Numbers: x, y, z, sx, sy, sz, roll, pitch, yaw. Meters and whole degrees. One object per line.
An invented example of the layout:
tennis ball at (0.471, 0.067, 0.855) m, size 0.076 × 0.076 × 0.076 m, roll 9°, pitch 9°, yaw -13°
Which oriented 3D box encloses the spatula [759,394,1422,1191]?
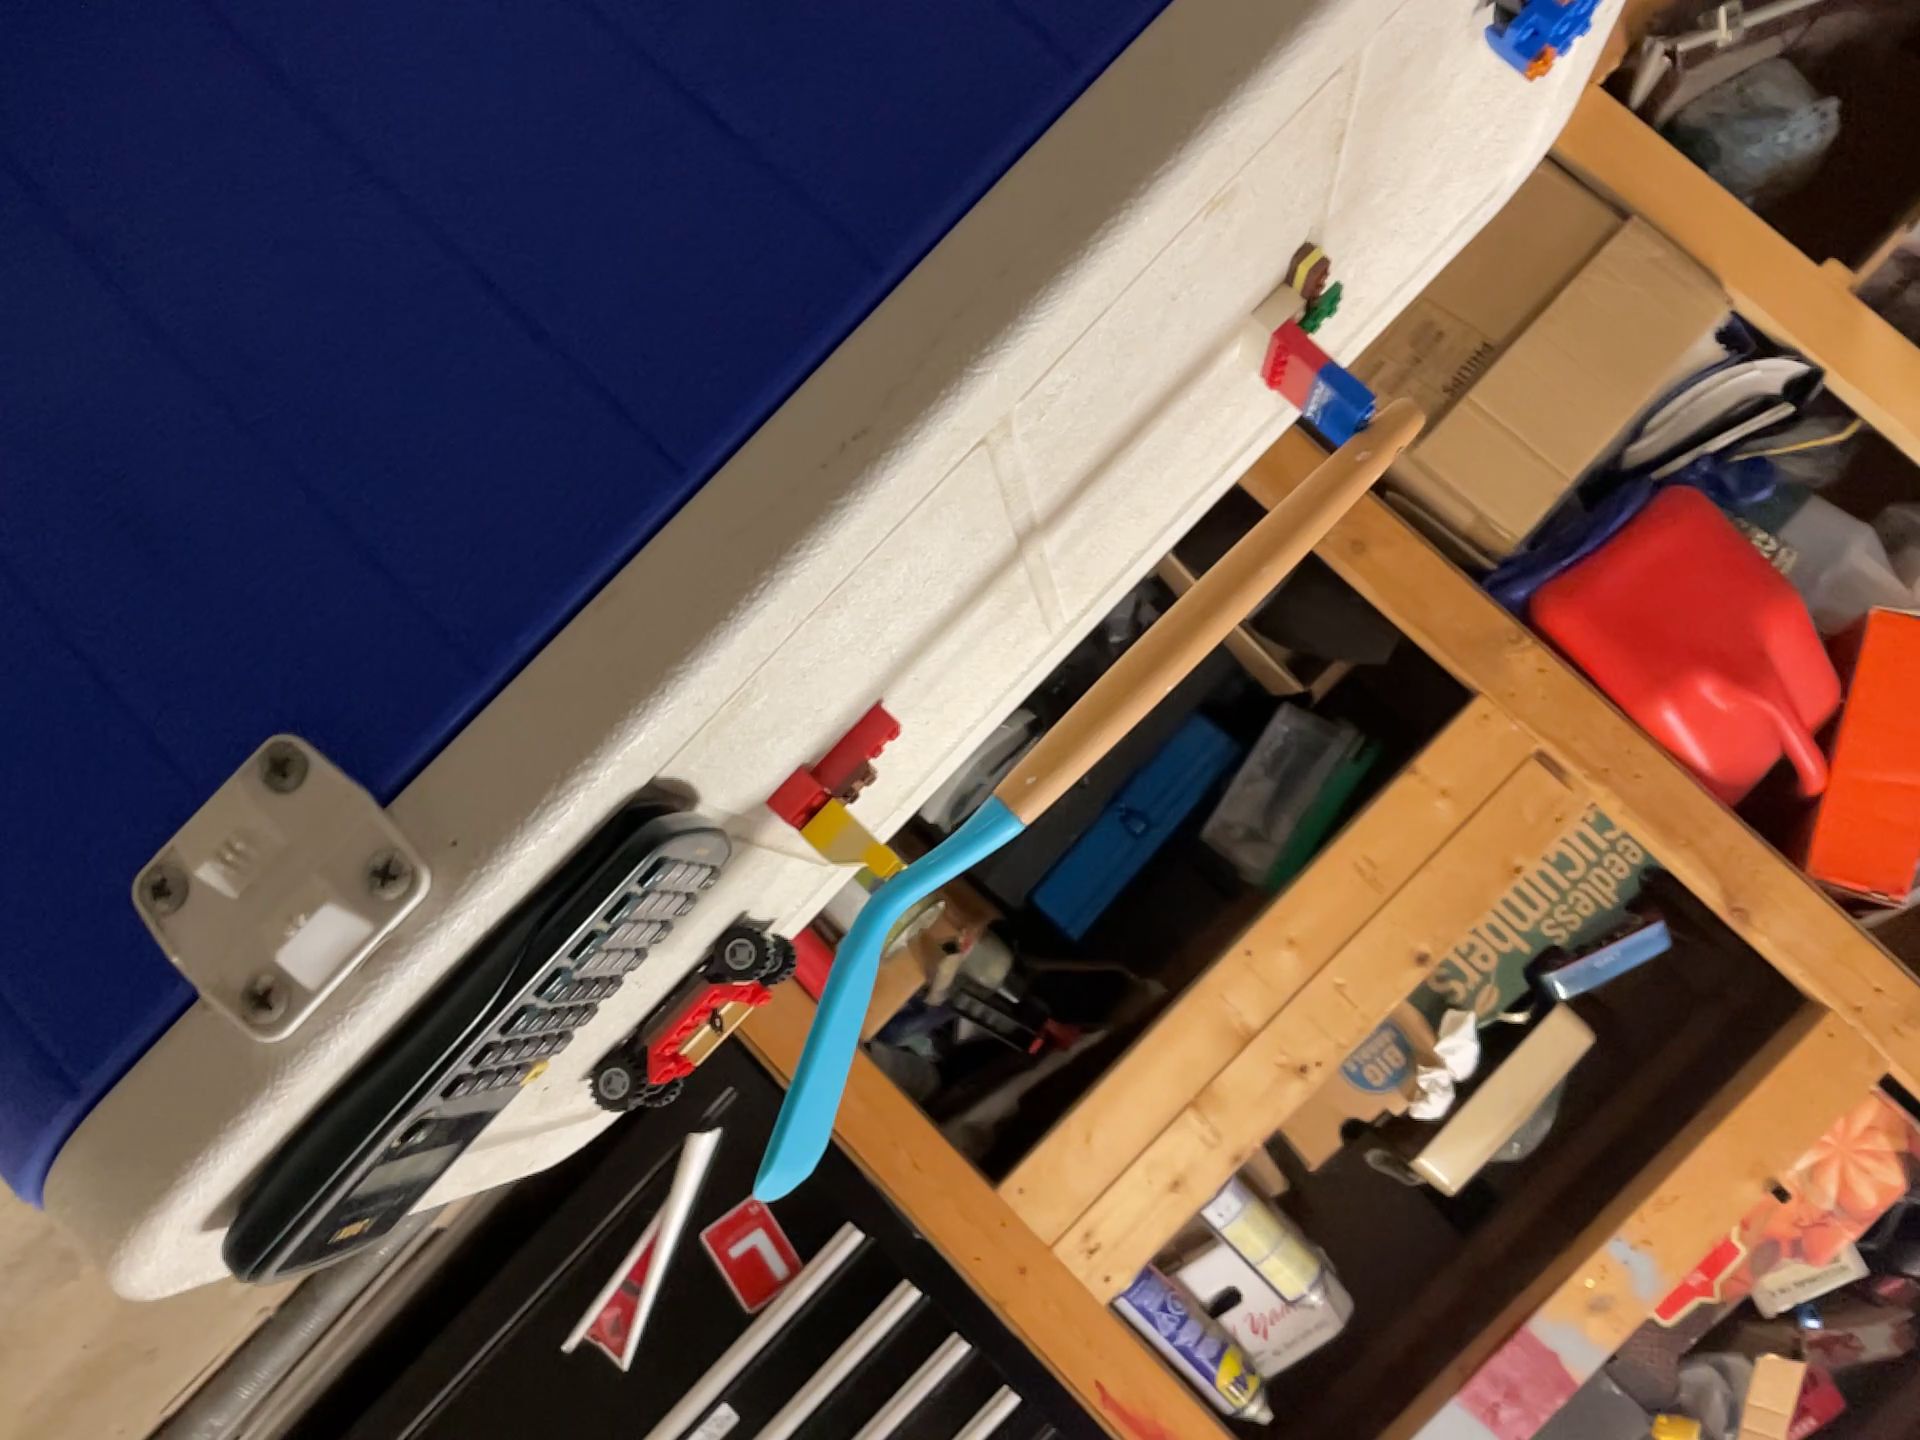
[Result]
spatula at (0.042, 0.016, 0.506) m, size 0.317 × 0.044 × 0.082 m, roll -45°, pitch 166°, yaw -4°
